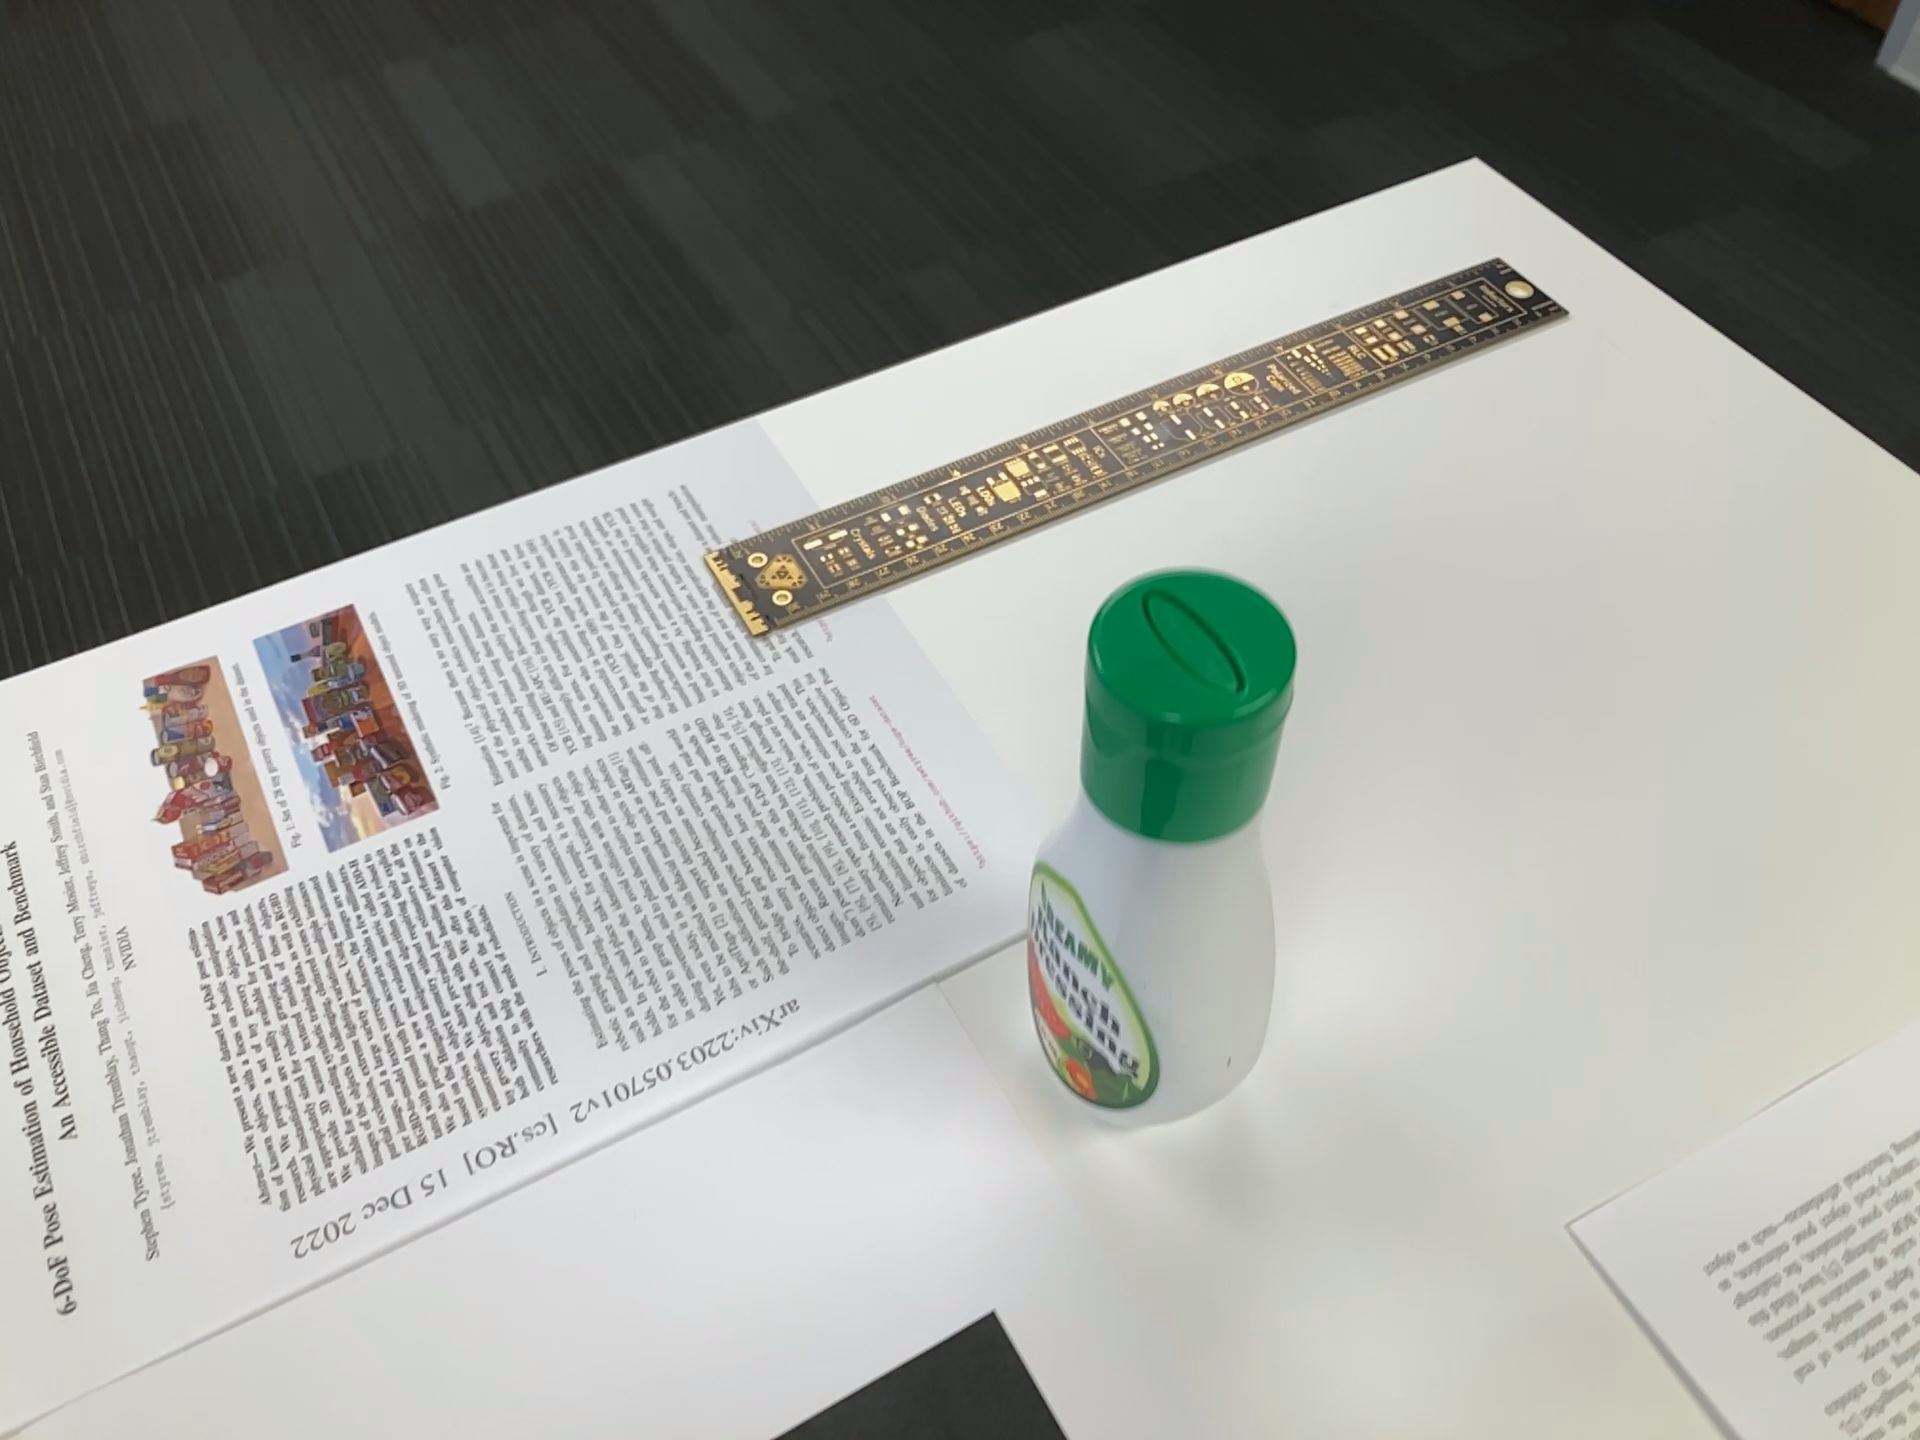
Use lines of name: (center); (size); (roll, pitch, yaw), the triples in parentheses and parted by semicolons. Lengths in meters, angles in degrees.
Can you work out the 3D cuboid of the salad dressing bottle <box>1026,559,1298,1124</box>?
salad dressing bottle: (0.041, 0.031, 0.329); (0.044, 0.147, 0.064); (-23, 53, -18)
